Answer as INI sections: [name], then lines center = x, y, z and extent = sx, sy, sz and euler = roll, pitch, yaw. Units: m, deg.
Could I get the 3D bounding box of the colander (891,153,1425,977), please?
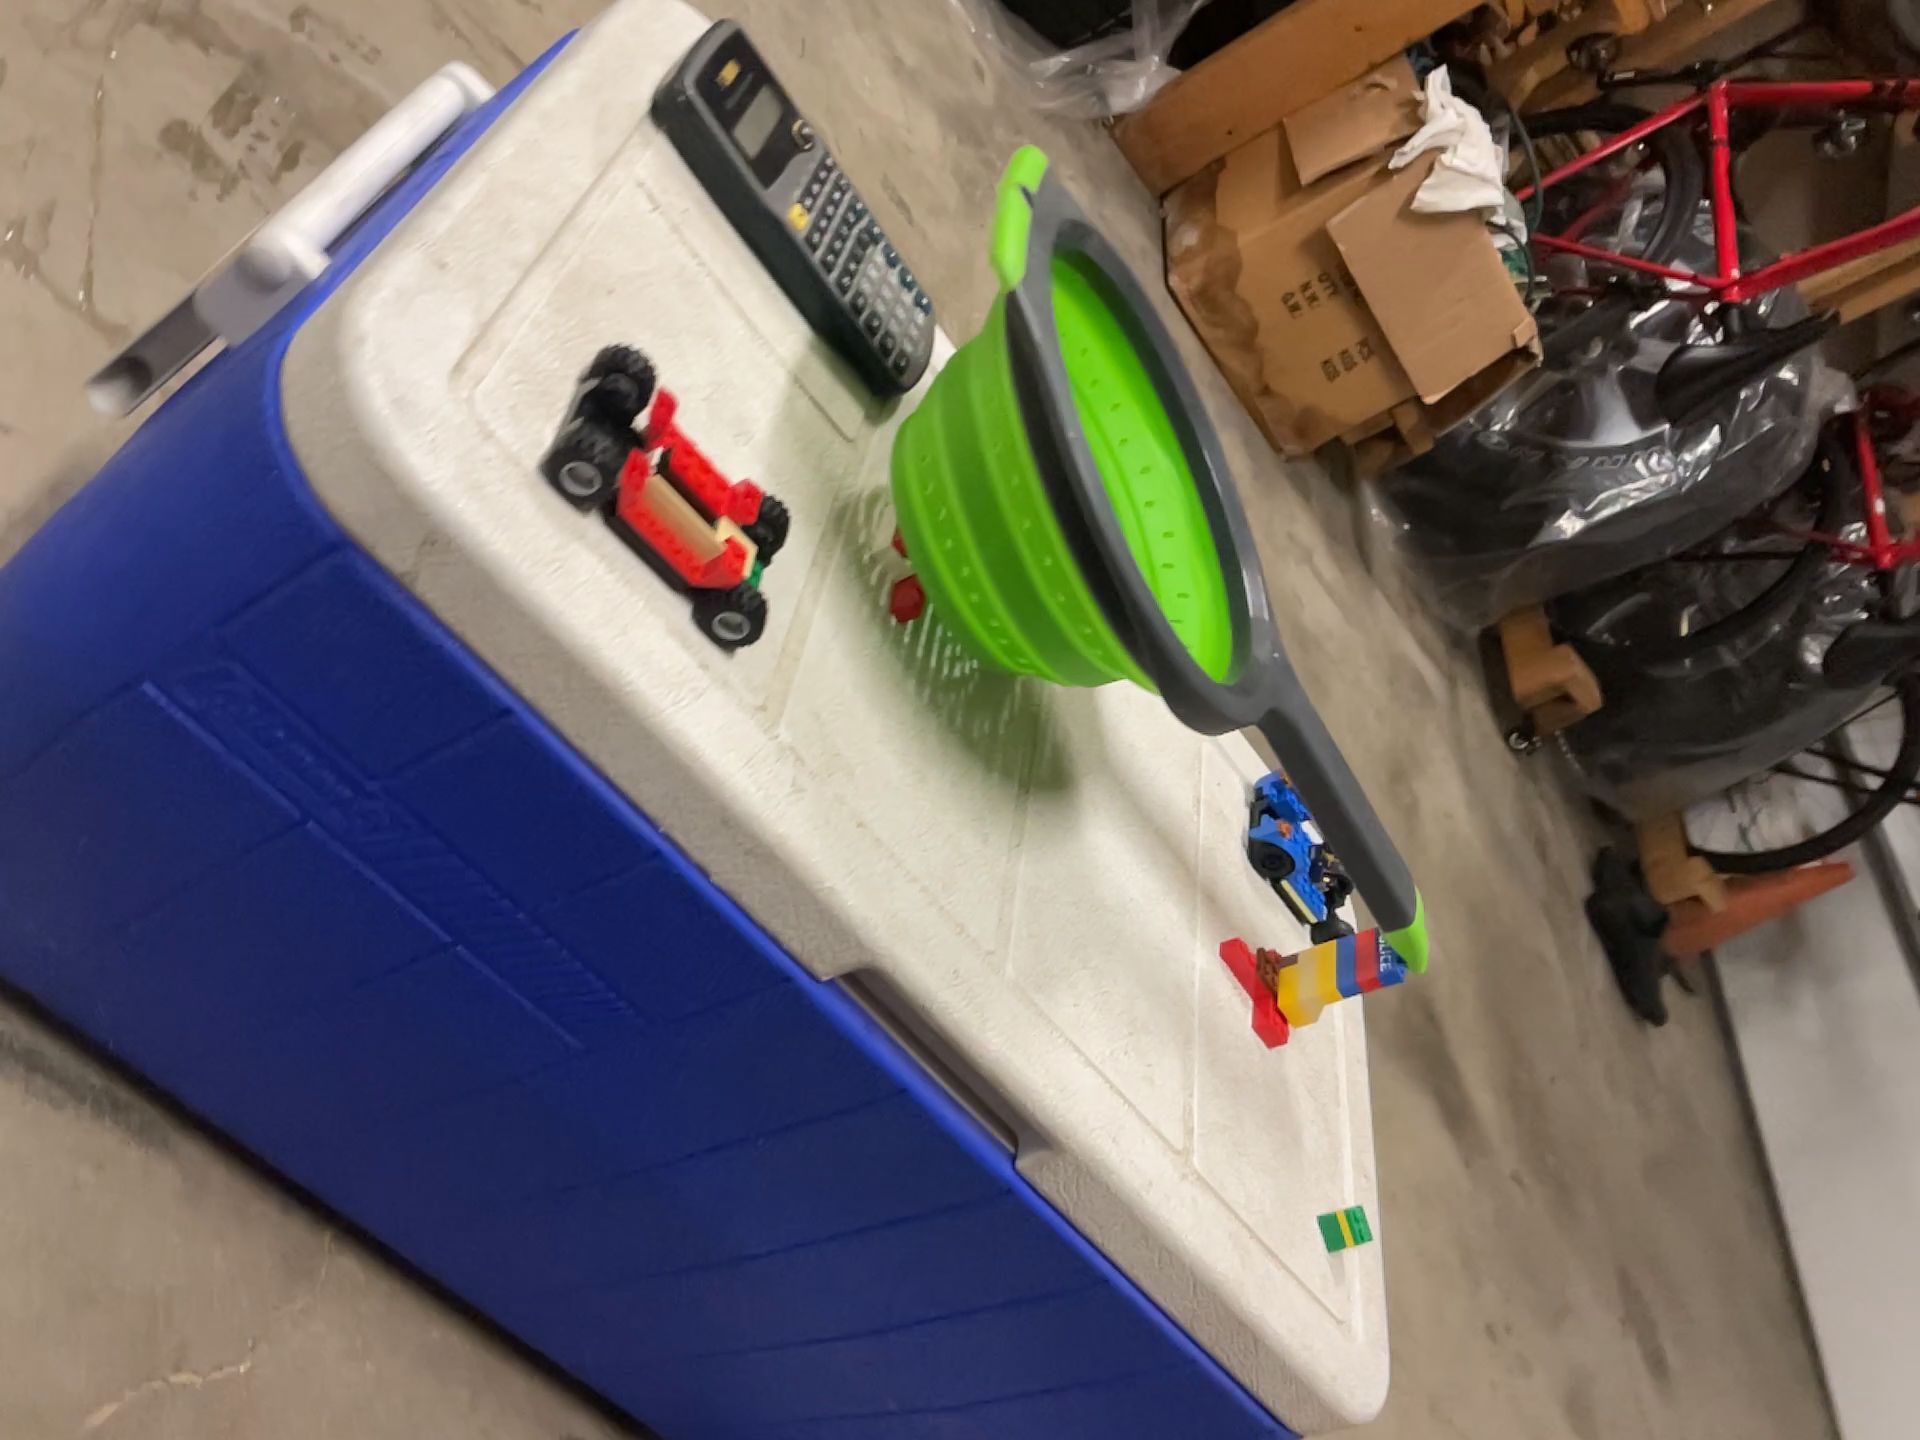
[colander]
center = 0.079, -0.022, 0.645
extent = 0.396, 0.094, 0.205
euler = 55, 26, -29
